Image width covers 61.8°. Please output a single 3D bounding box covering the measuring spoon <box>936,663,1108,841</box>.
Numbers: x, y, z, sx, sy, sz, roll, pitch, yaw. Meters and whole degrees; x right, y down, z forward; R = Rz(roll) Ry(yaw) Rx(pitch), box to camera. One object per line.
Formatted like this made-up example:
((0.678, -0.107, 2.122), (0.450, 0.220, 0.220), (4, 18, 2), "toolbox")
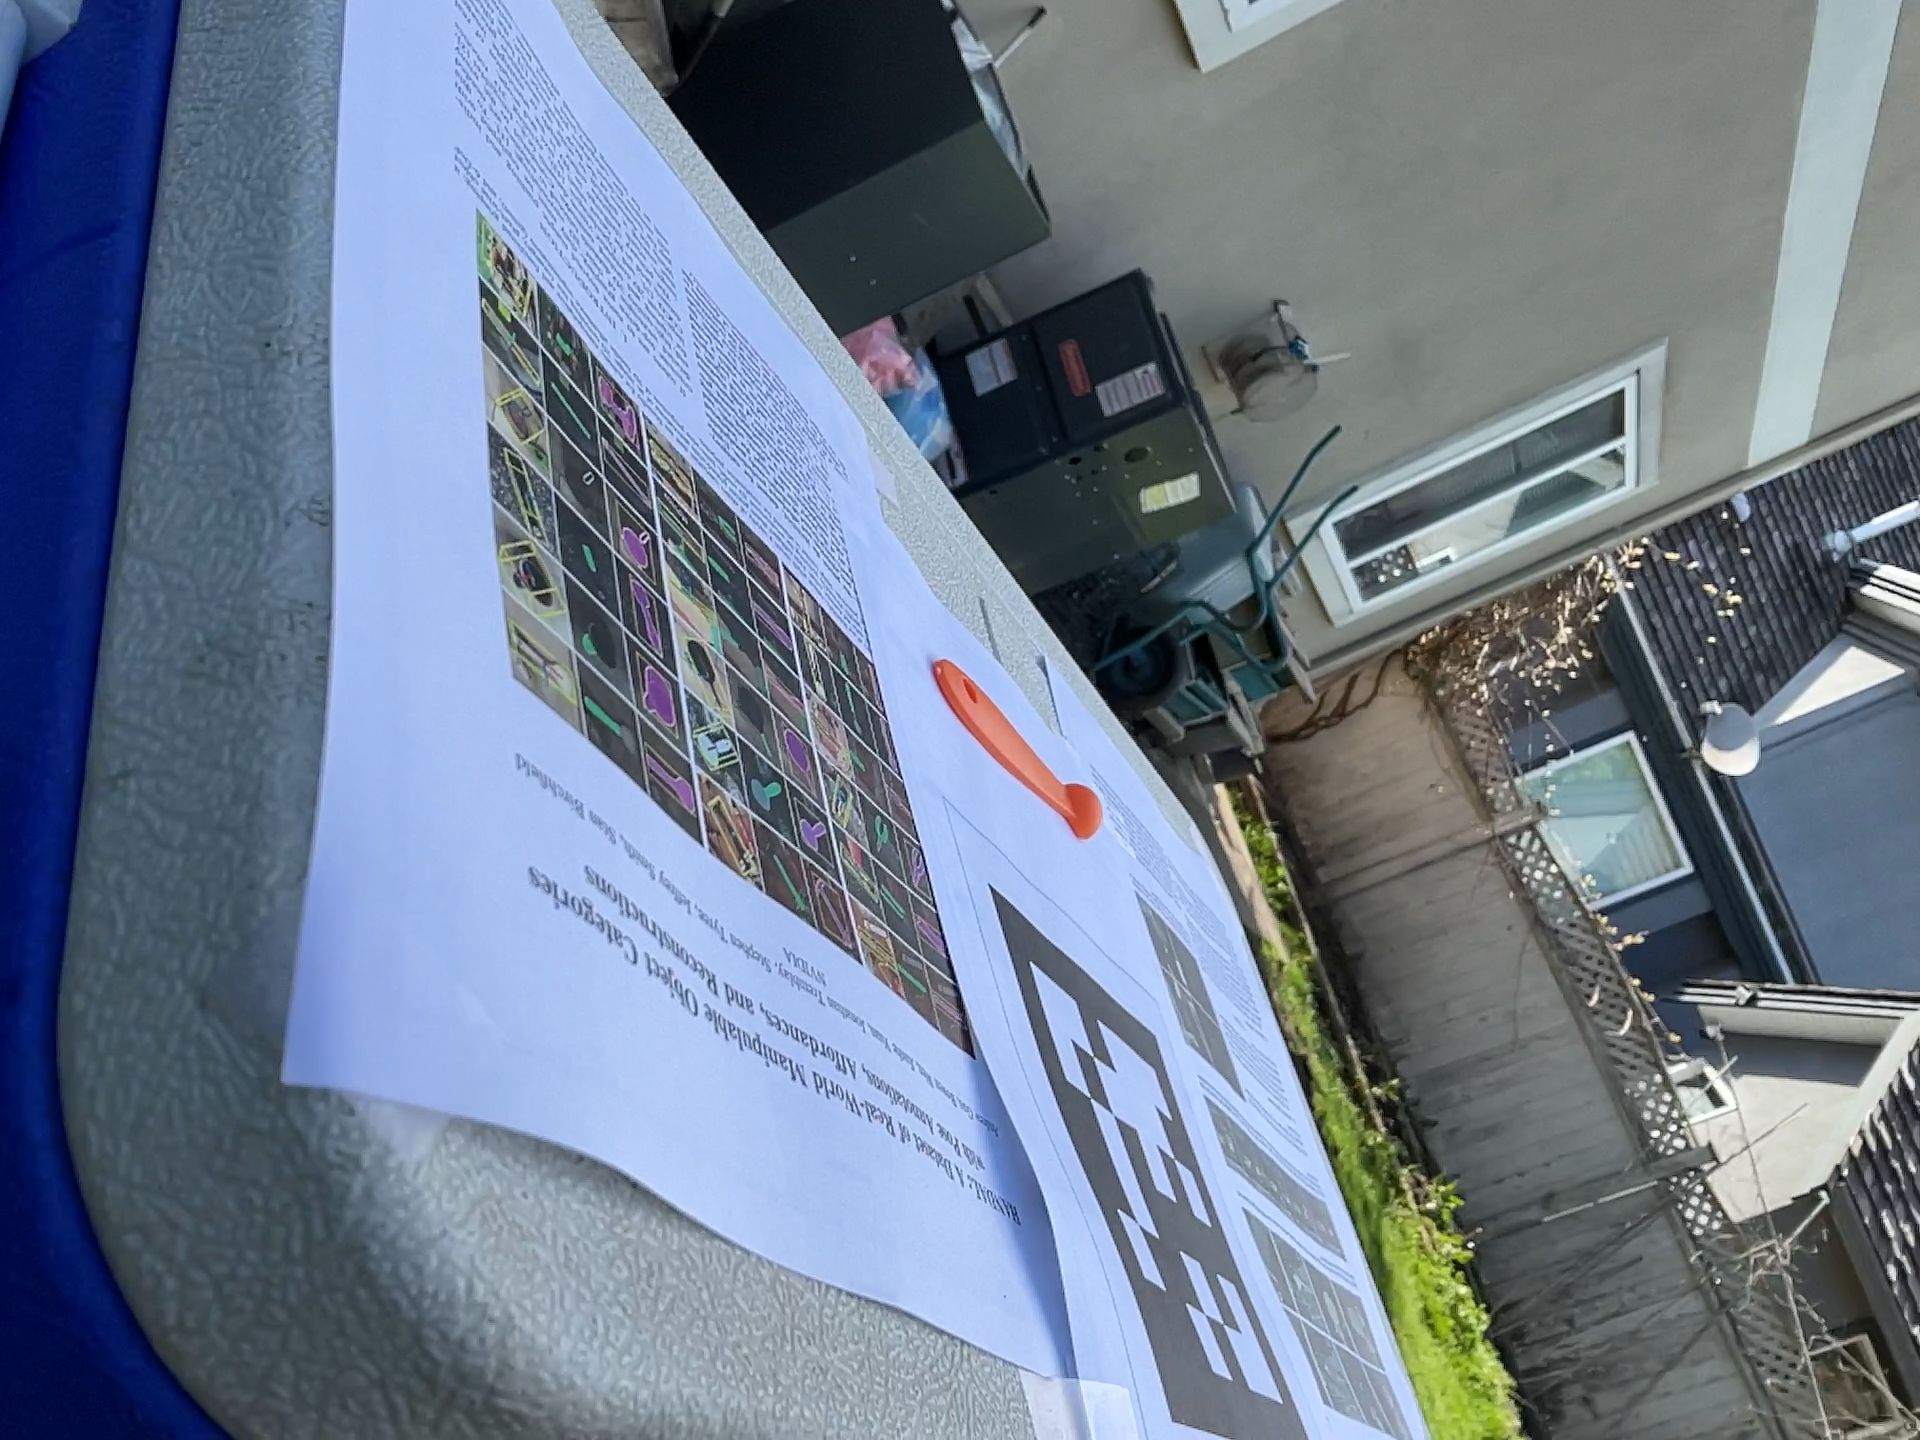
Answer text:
((0.021, 0.009, 0.479), (0.116, 0.011, 0.021), (44, 20, -55), "measuring spoon")
